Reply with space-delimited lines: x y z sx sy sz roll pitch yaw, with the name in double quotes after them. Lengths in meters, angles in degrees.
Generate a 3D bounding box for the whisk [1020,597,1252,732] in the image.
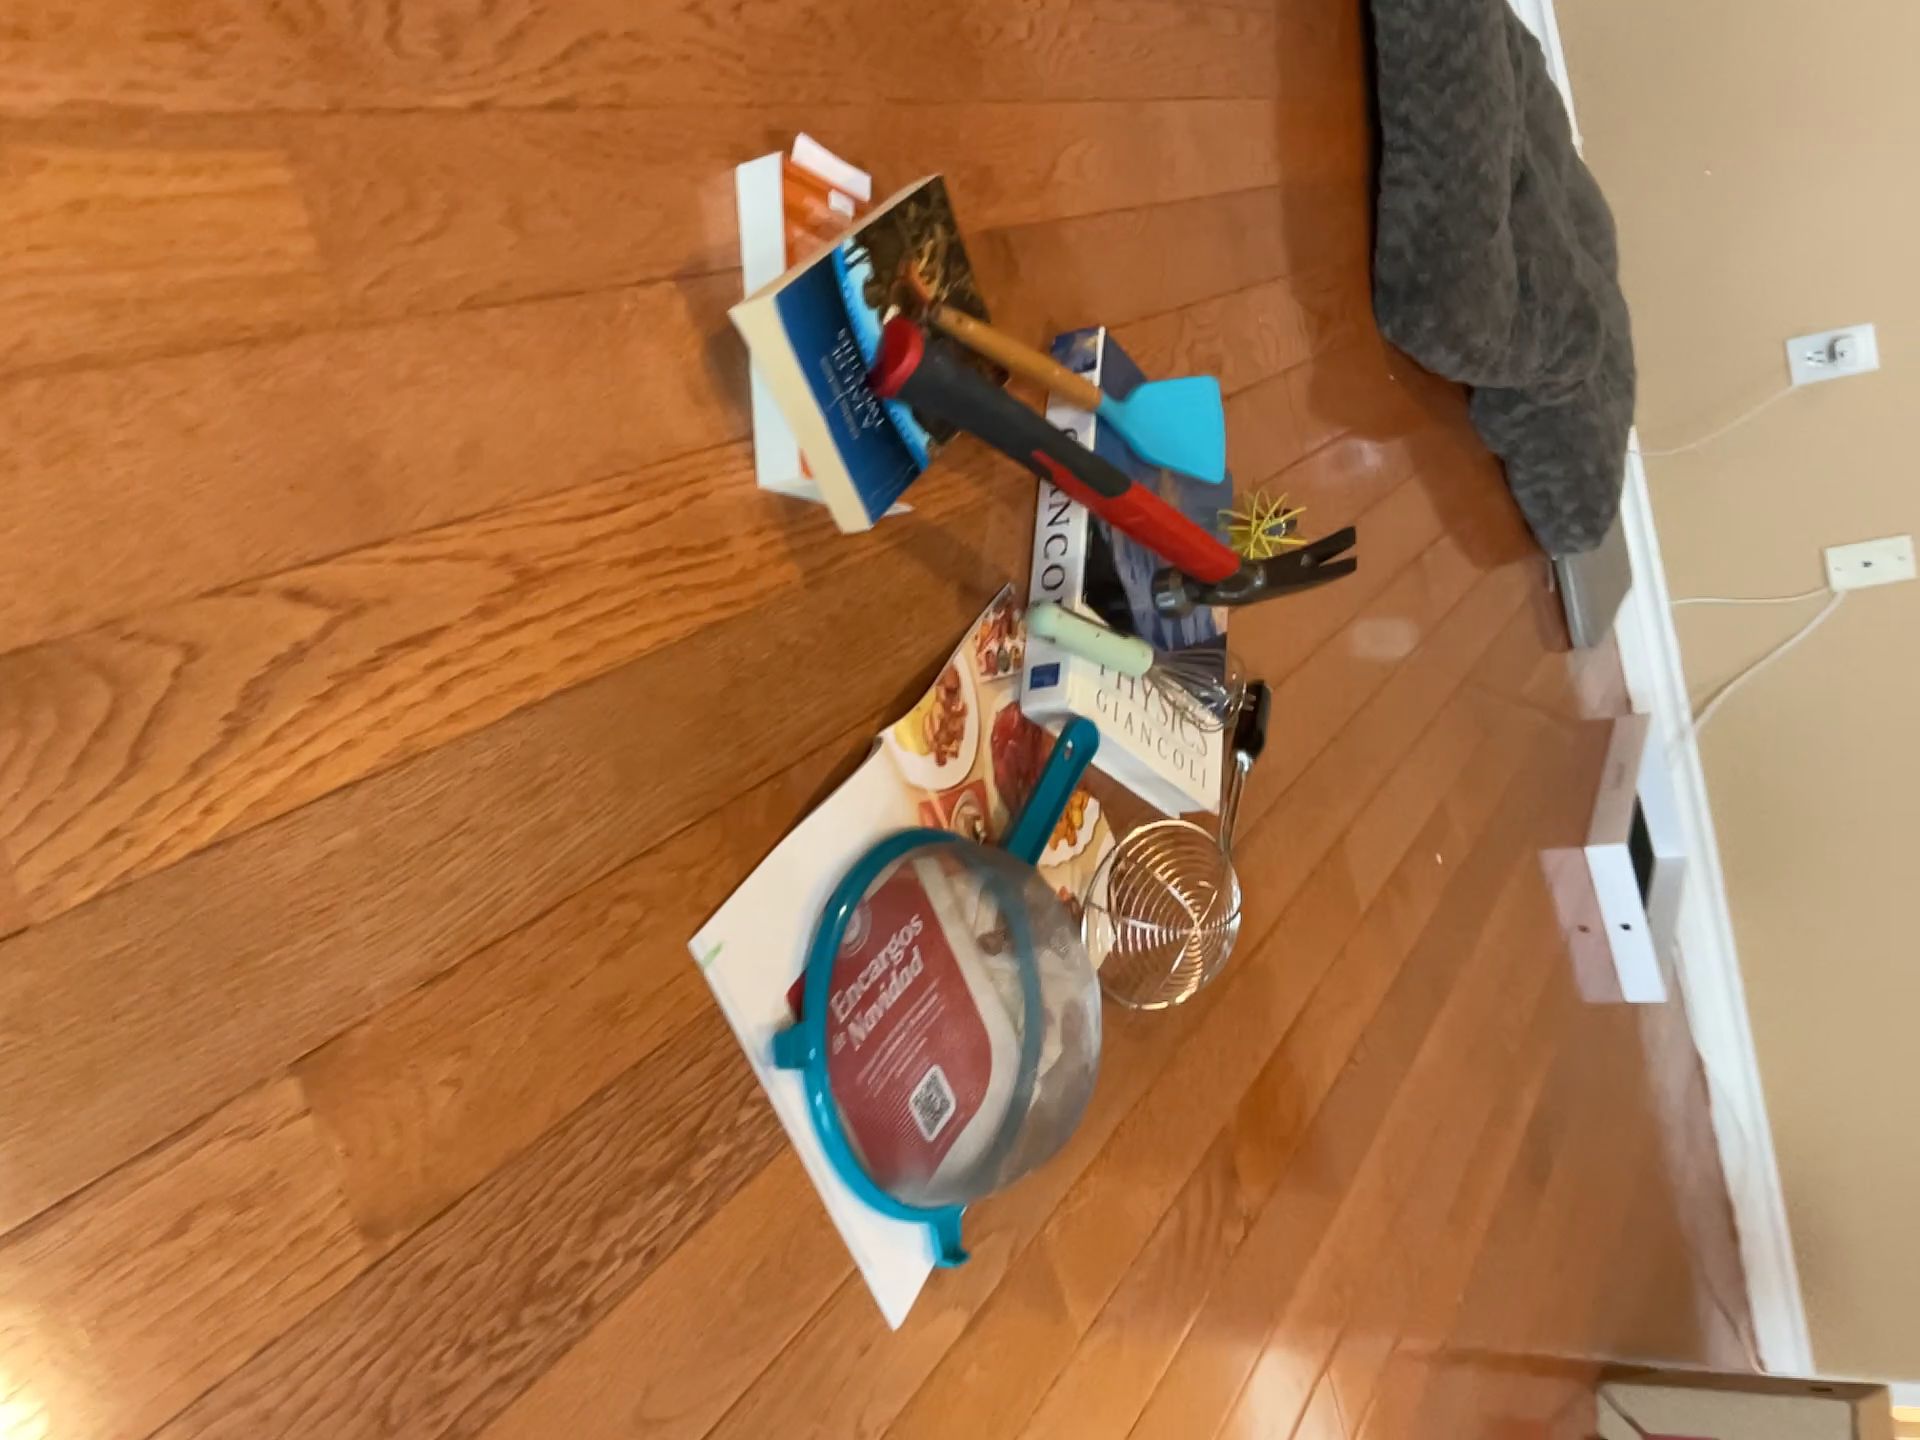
0.118 -0.039 1.034 0.246 0.058 0.059 19 99 -49 "whisk"

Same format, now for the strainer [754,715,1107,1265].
0.039 0.116 0.878 0.211 0.095 0.341 58 47 -31 "strainer"

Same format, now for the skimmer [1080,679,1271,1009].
0.169 0.067 1.164 0.127 0.090 0.364 65 26 -20 "skimmer"

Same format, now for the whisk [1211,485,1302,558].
0.249 -0.152 1.276 0.080 0.067 0.312 63 20 -2 "whisk"

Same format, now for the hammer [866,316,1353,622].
0.091 -0.143 0.939 0.386 0.143 0.038 23 61 -50 "hammer"

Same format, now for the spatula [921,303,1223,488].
0.079 -0.213 1.006 0.317 0.044 0.082 8 78 -56 "spatula"
